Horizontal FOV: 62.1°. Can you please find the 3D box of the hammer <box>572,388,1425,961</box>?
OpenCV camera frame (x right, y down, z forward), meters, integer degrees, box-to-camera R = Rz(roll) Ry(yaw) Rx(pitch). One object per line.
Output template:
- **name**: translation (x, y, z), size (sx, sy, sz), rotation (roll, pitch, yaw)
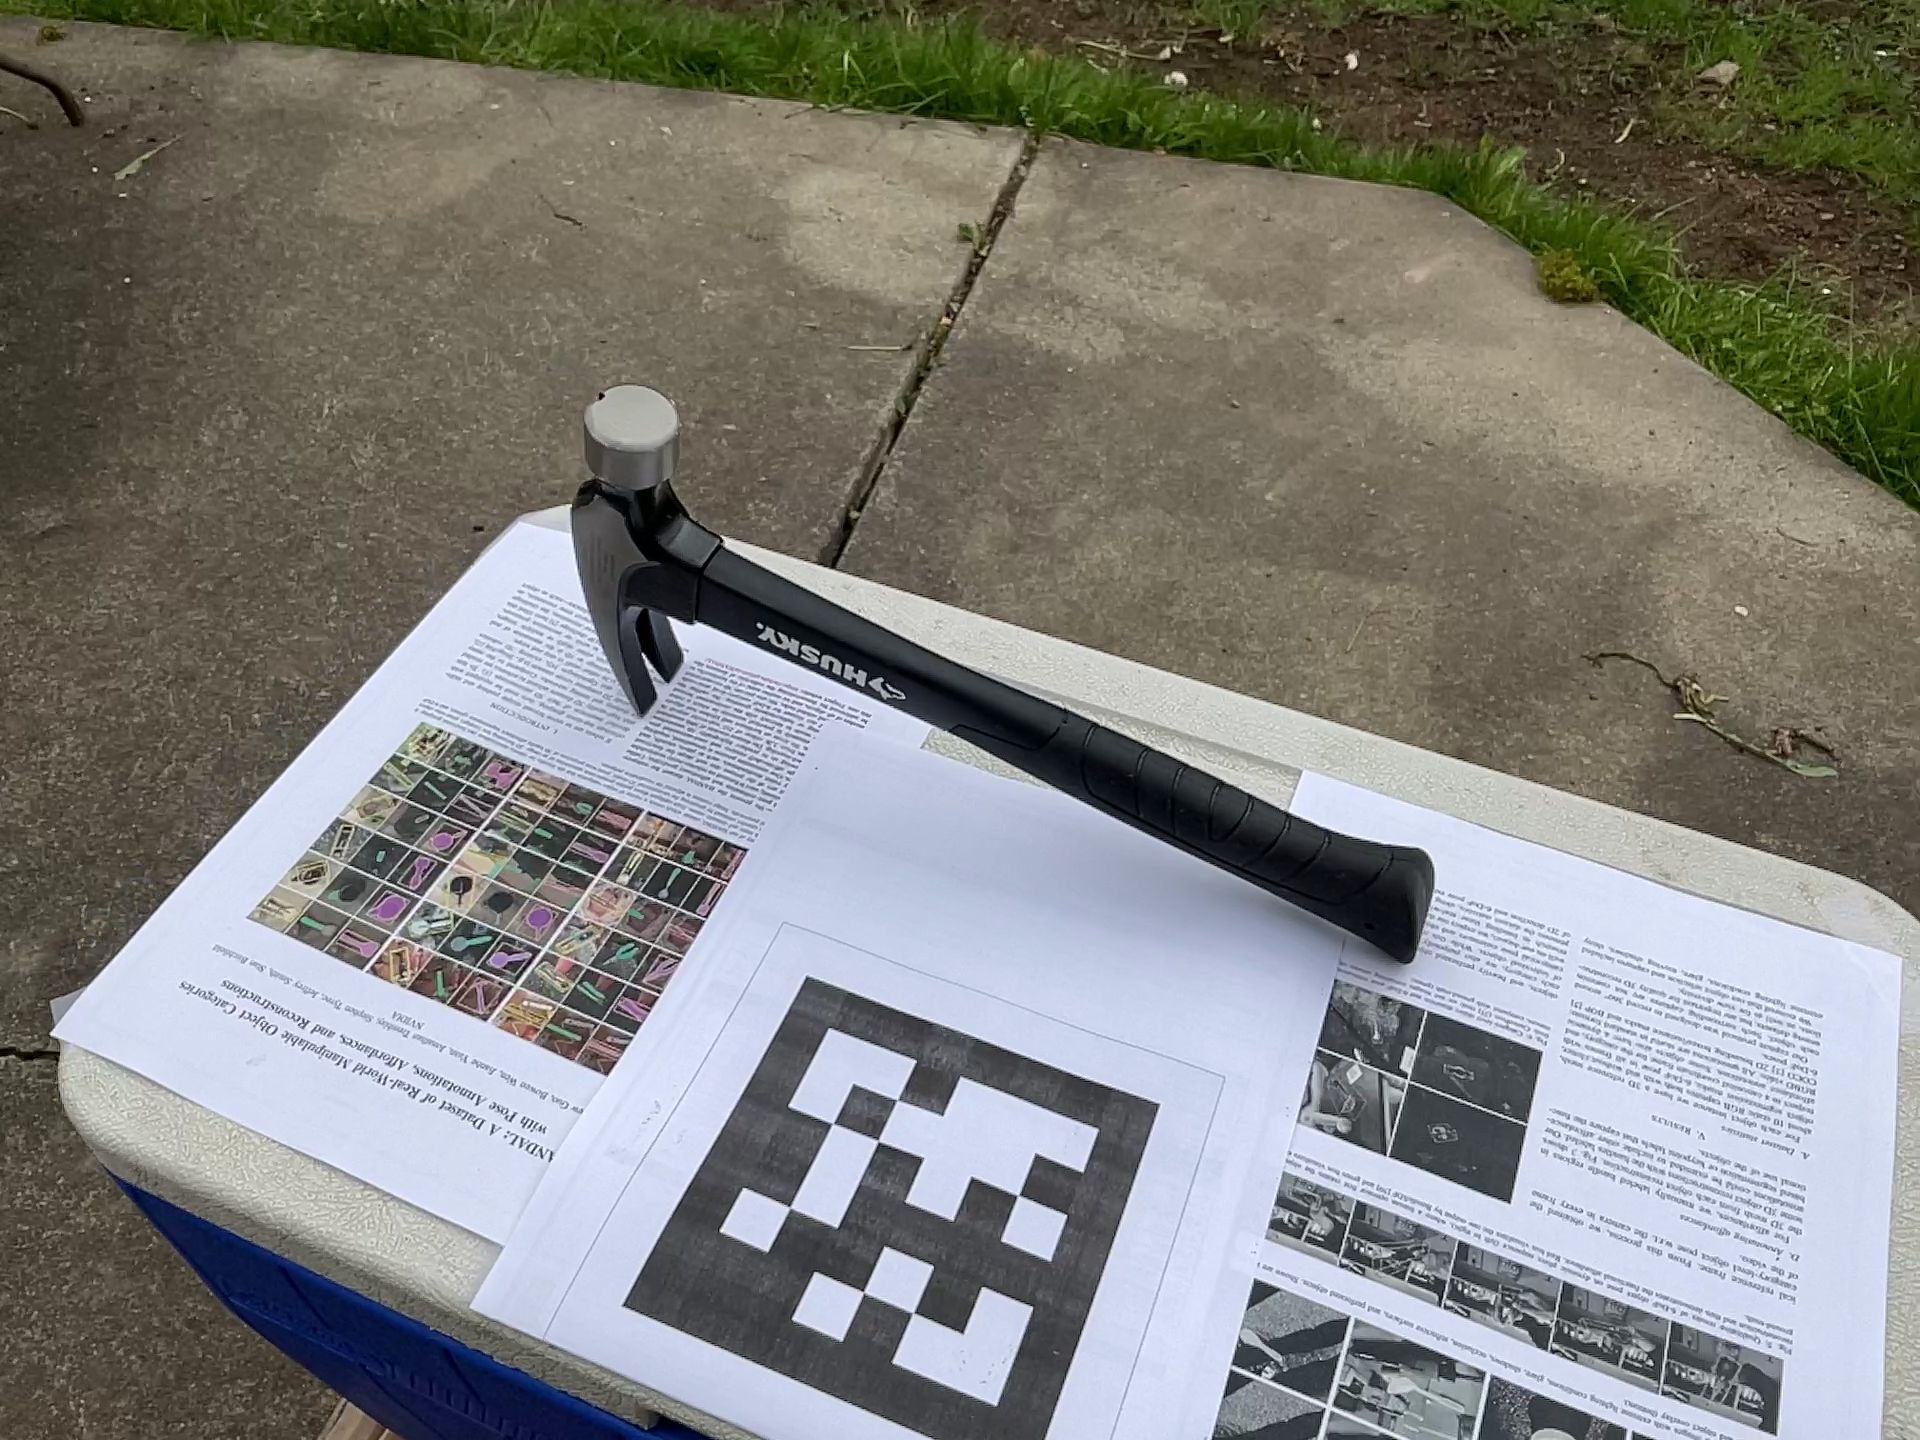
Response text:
- **hammer**: translation (0.012, 0.003, 0.583), size (0.335, 0.146, 0.035), rotation (25, 54, 6)
